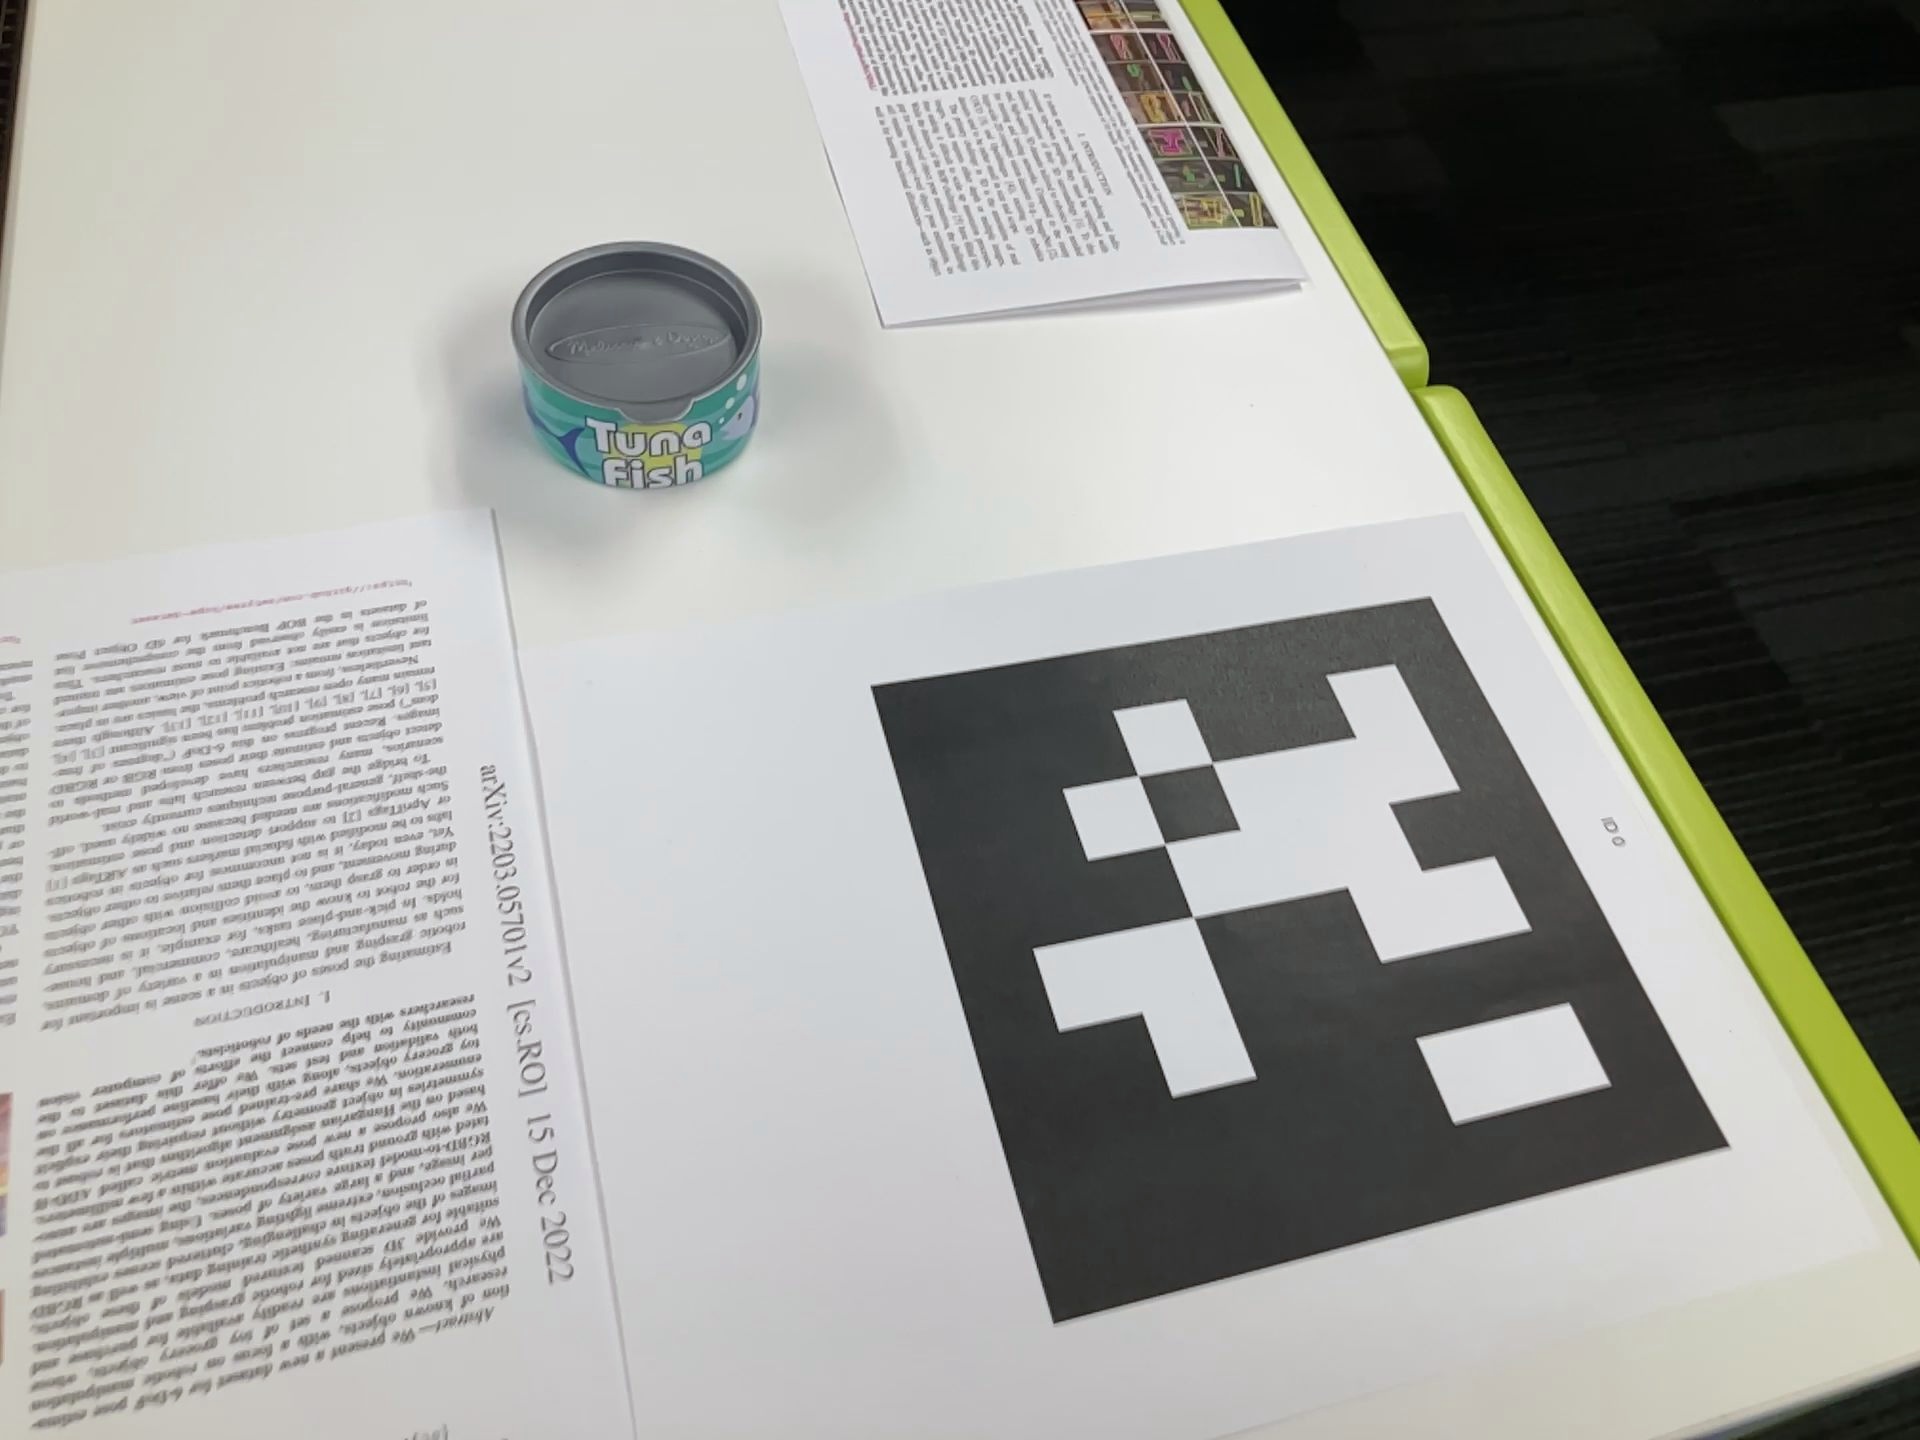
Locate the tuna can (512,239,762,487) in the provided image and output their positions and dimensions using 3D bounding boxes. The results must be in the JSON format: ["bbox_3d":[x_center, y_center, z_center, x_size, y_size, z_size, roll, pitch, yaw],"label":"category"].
[{"bbox_3d":[-0.088,-0.097,0.438,0.071,0.033,0.071,4,55,-5],"label":"tuna can"}]
